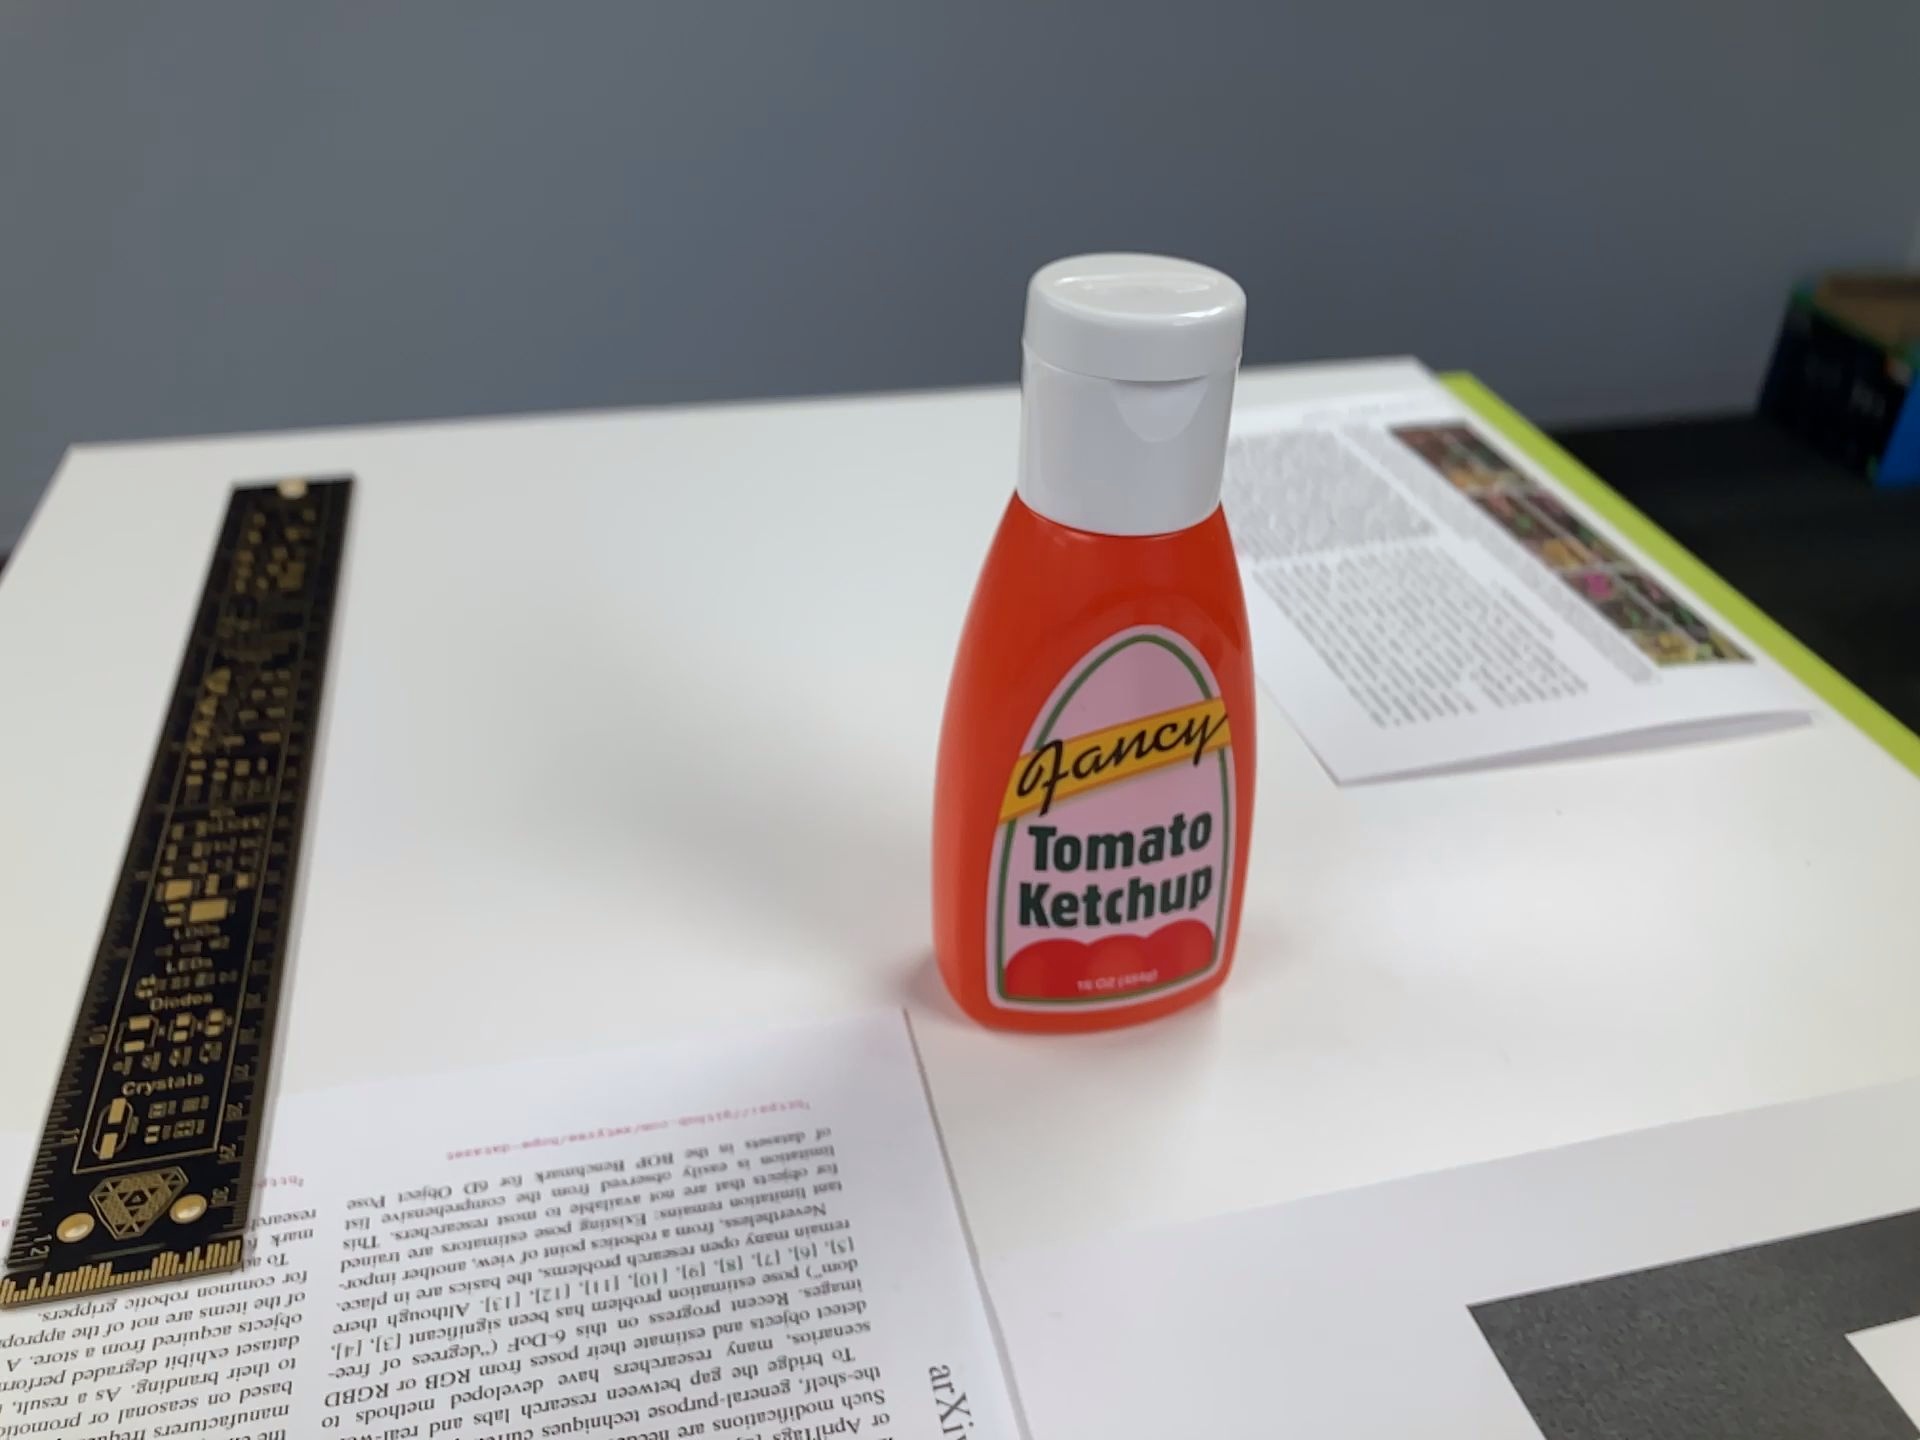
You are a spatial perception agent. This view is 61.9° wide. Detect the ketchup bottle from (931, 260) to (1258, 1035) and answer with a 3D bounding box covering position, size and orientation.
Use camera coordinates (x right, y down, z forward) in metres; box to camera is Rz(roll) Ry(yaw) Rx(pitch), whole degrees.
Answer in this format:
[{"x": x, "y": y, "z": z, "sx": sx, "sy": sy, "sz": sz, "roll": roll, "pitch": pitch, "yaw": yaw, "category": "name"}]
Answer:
[{"x": 0.027, "y": -0.009, "z": 0.304, "sx": 0.065, "sy": 0.149, "sz": 0.043, "roll": -6, "pitch": 33, "yaw": -11, "category": "ketchup bottle"}]
